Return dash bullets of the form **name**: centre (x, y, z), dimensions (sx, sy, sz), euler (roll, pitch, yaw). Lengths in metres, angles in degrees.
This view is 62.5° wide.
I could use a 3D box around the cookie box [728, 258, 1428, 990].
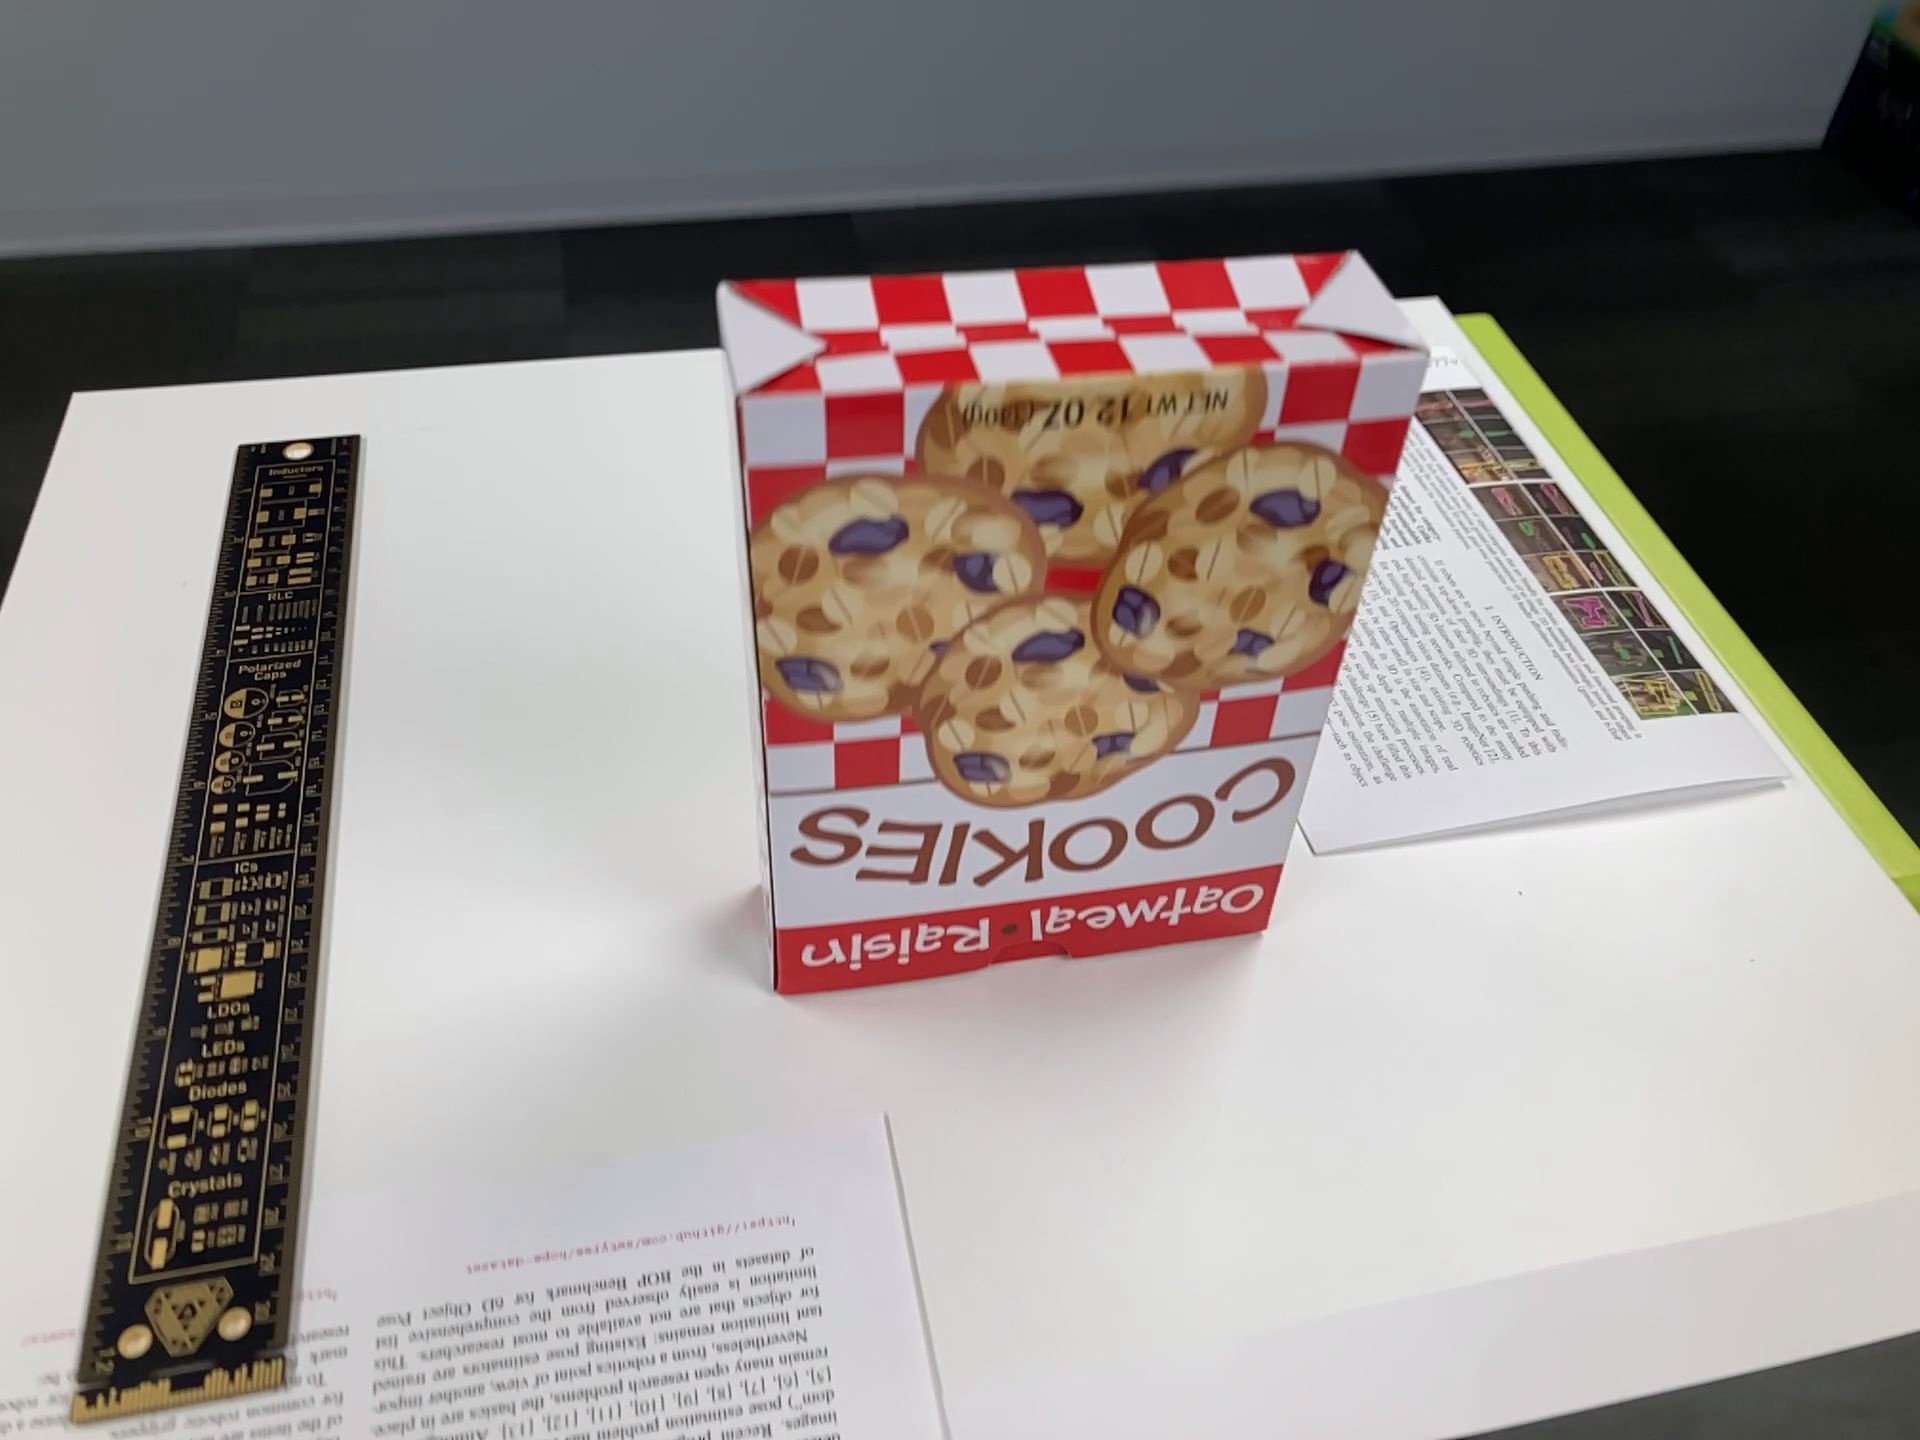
- **cookie box**: centre (0.017, -0.011, 0.342), dimensions (0.123, 0.167, 0.040), euler (-5, 45, -10)
